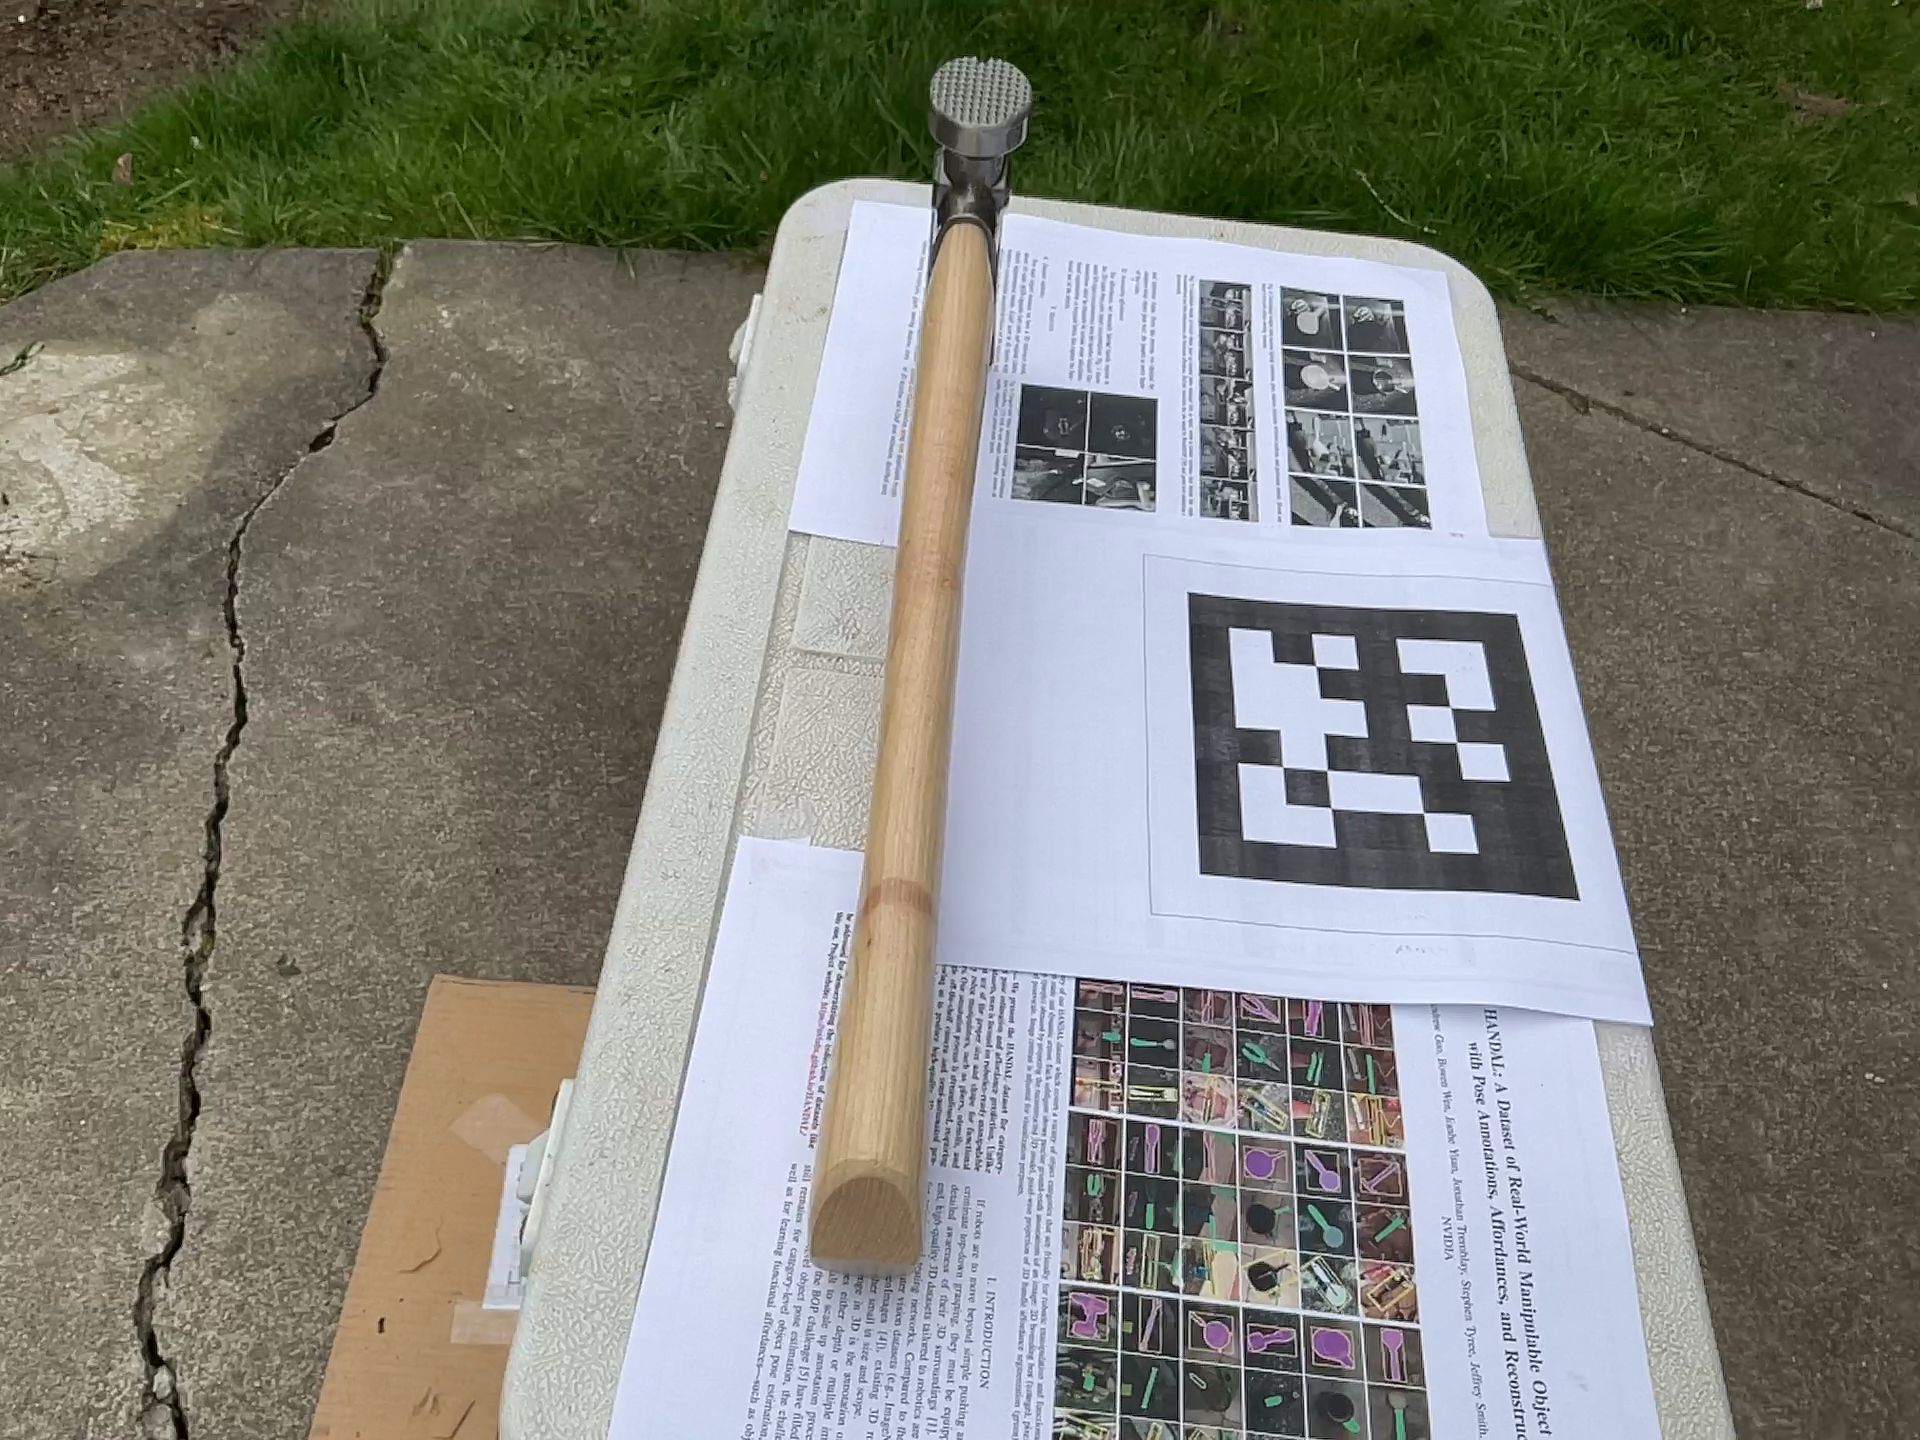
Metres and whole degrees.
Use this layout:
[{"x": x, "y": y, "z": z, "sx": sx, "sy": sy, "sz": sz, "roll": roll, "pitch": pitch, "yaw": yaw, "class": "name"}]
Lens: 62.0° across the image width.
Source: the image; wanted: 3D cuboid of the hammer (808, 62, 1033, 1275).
[{"x": -0.012, "y": -0.026, "z": 0.544, "sx": 0.038, "sy": 0.146, "sz": 0.411, "roll": 6, "pitch": 62, "yaw": -1, "class": "hammer"}]
